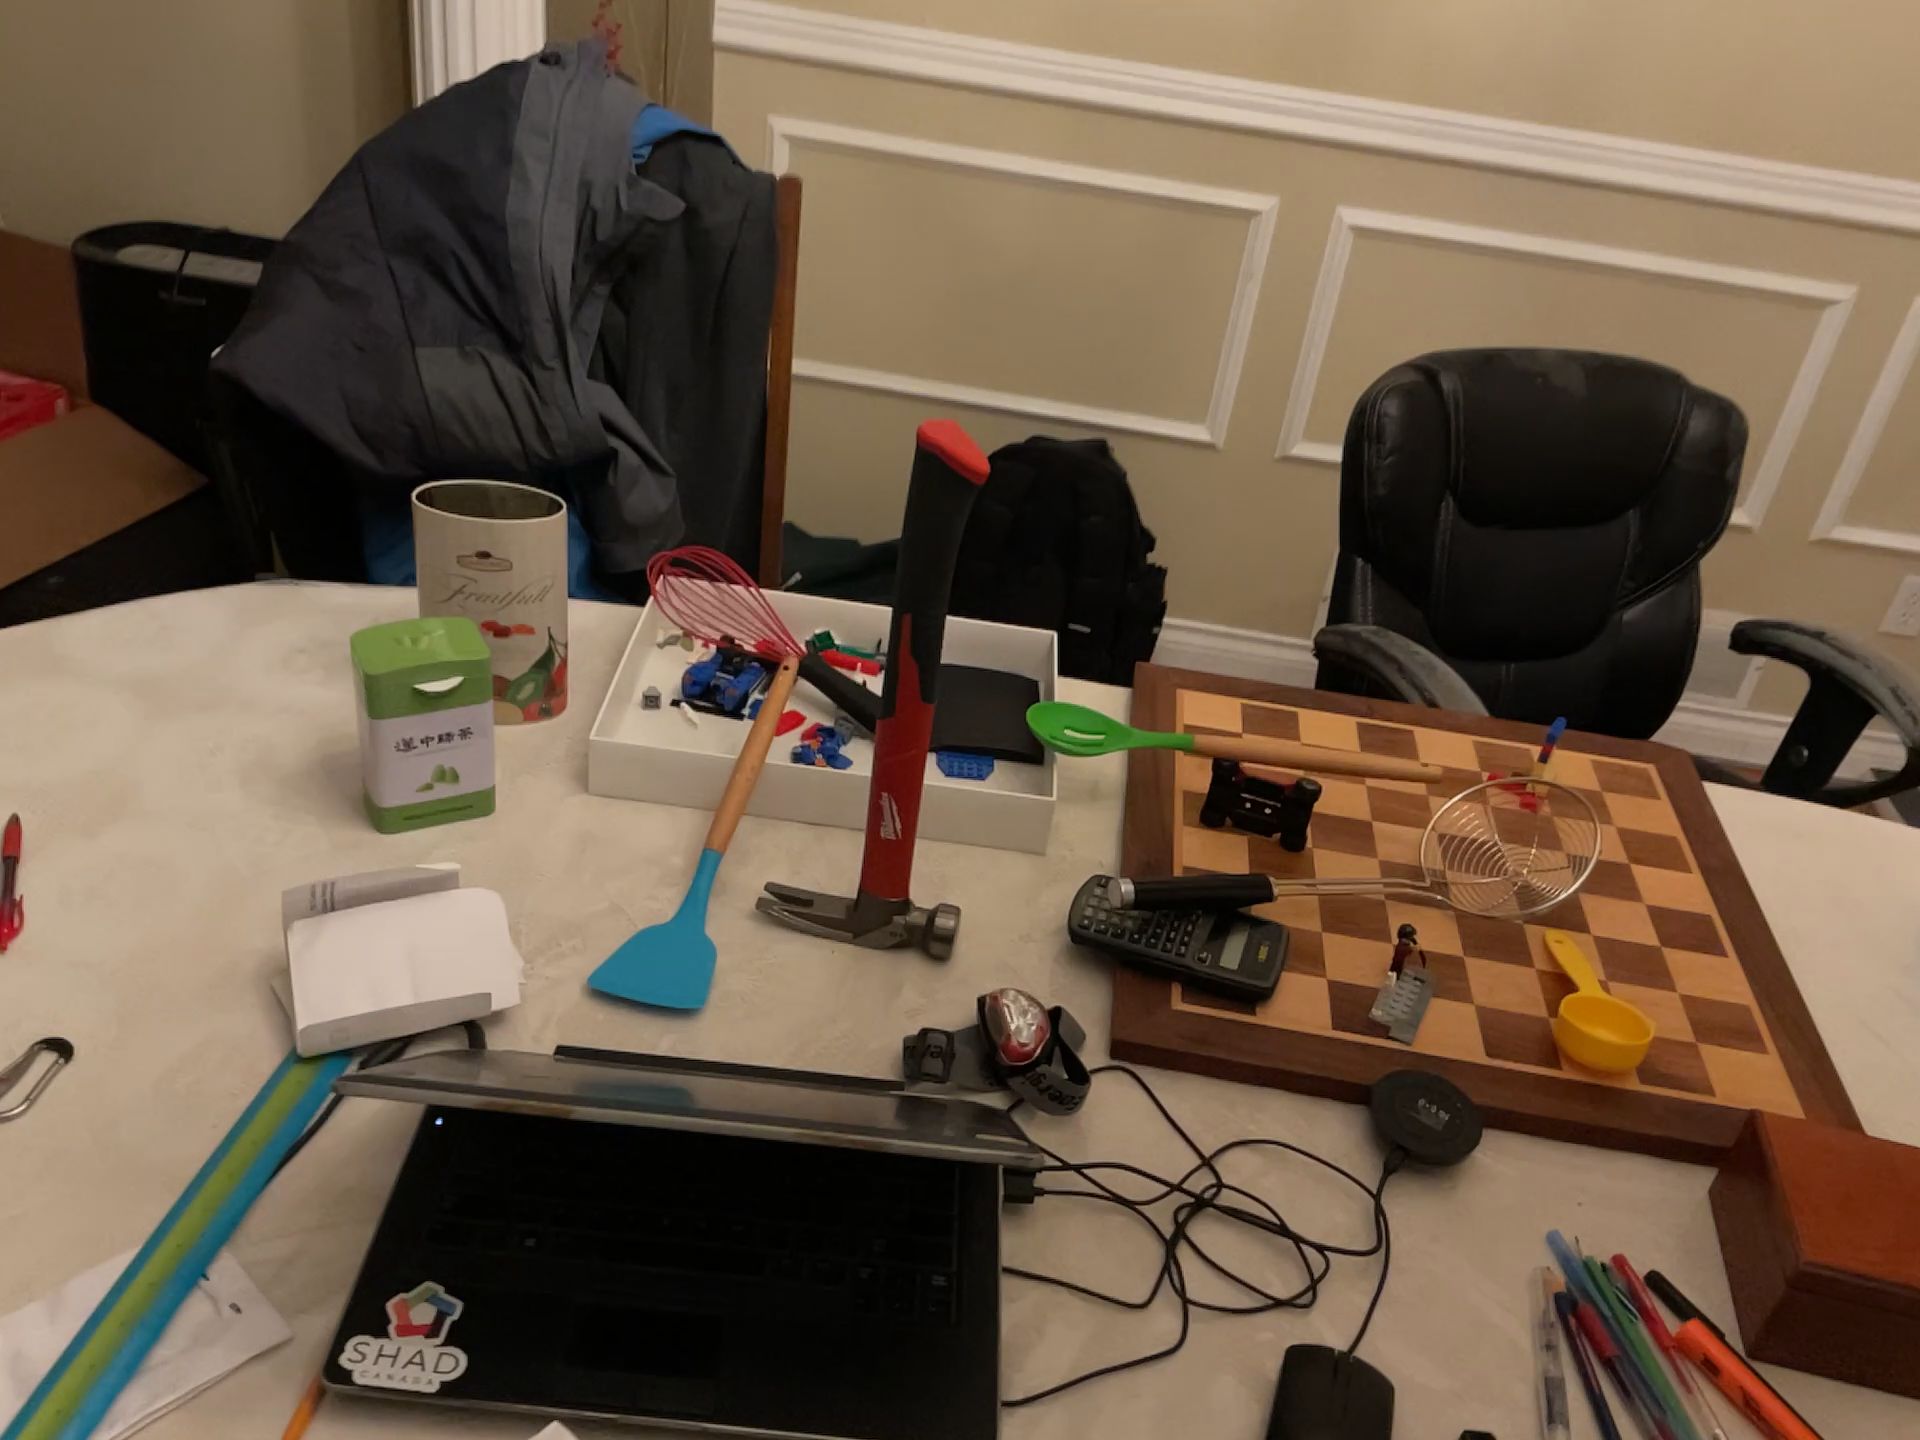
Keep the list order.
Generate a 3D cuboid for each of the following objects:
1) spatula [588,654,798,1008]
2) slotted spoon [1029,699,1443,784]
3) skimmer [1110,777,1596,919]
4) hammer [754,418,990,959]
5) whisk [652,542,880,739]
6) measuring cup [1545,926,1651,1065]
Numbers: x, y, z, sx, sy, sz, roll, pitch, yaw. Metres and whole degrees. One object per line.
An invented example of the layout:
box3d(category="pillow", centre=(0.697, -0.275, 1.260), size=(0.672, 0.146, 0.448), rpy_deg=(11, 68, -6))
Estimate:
box3d(category="spatula", centre=(-0.167, 0.069, 1.132), size=(0.082, 0.044, 0.317), rpy_deg=(11, 54, 7))
box3d(category="slotted spoon", centre=(0.206, 0.022, 1.215), size=(0.314, 0.031, 0.070), rpy_deg=(7, 30, 16))
box3d(category="skimmer", centre=(0.283, 0.096, 1.143), size=(0.363, 0.090, 0.127), rpy_deg=(0, 35, -20))
box3d(category="hammer", centre=(-0.049, -0.010, 1.015), size=(0.143, 0.386, 0.038), rpy_deg=(11, 33, 4))
box3d(category="whisk", centre=(-0.148, -0.058, 1.341), size=(0.296, 0.073, 0.073), rpy_deg=(36, 58, 15))
box3d(category="measuring cup", centre=(0.432, 0.190, 1.110), size=(0.062, 0.029, 0.156), rpy_deg=(7, 20, 3))
